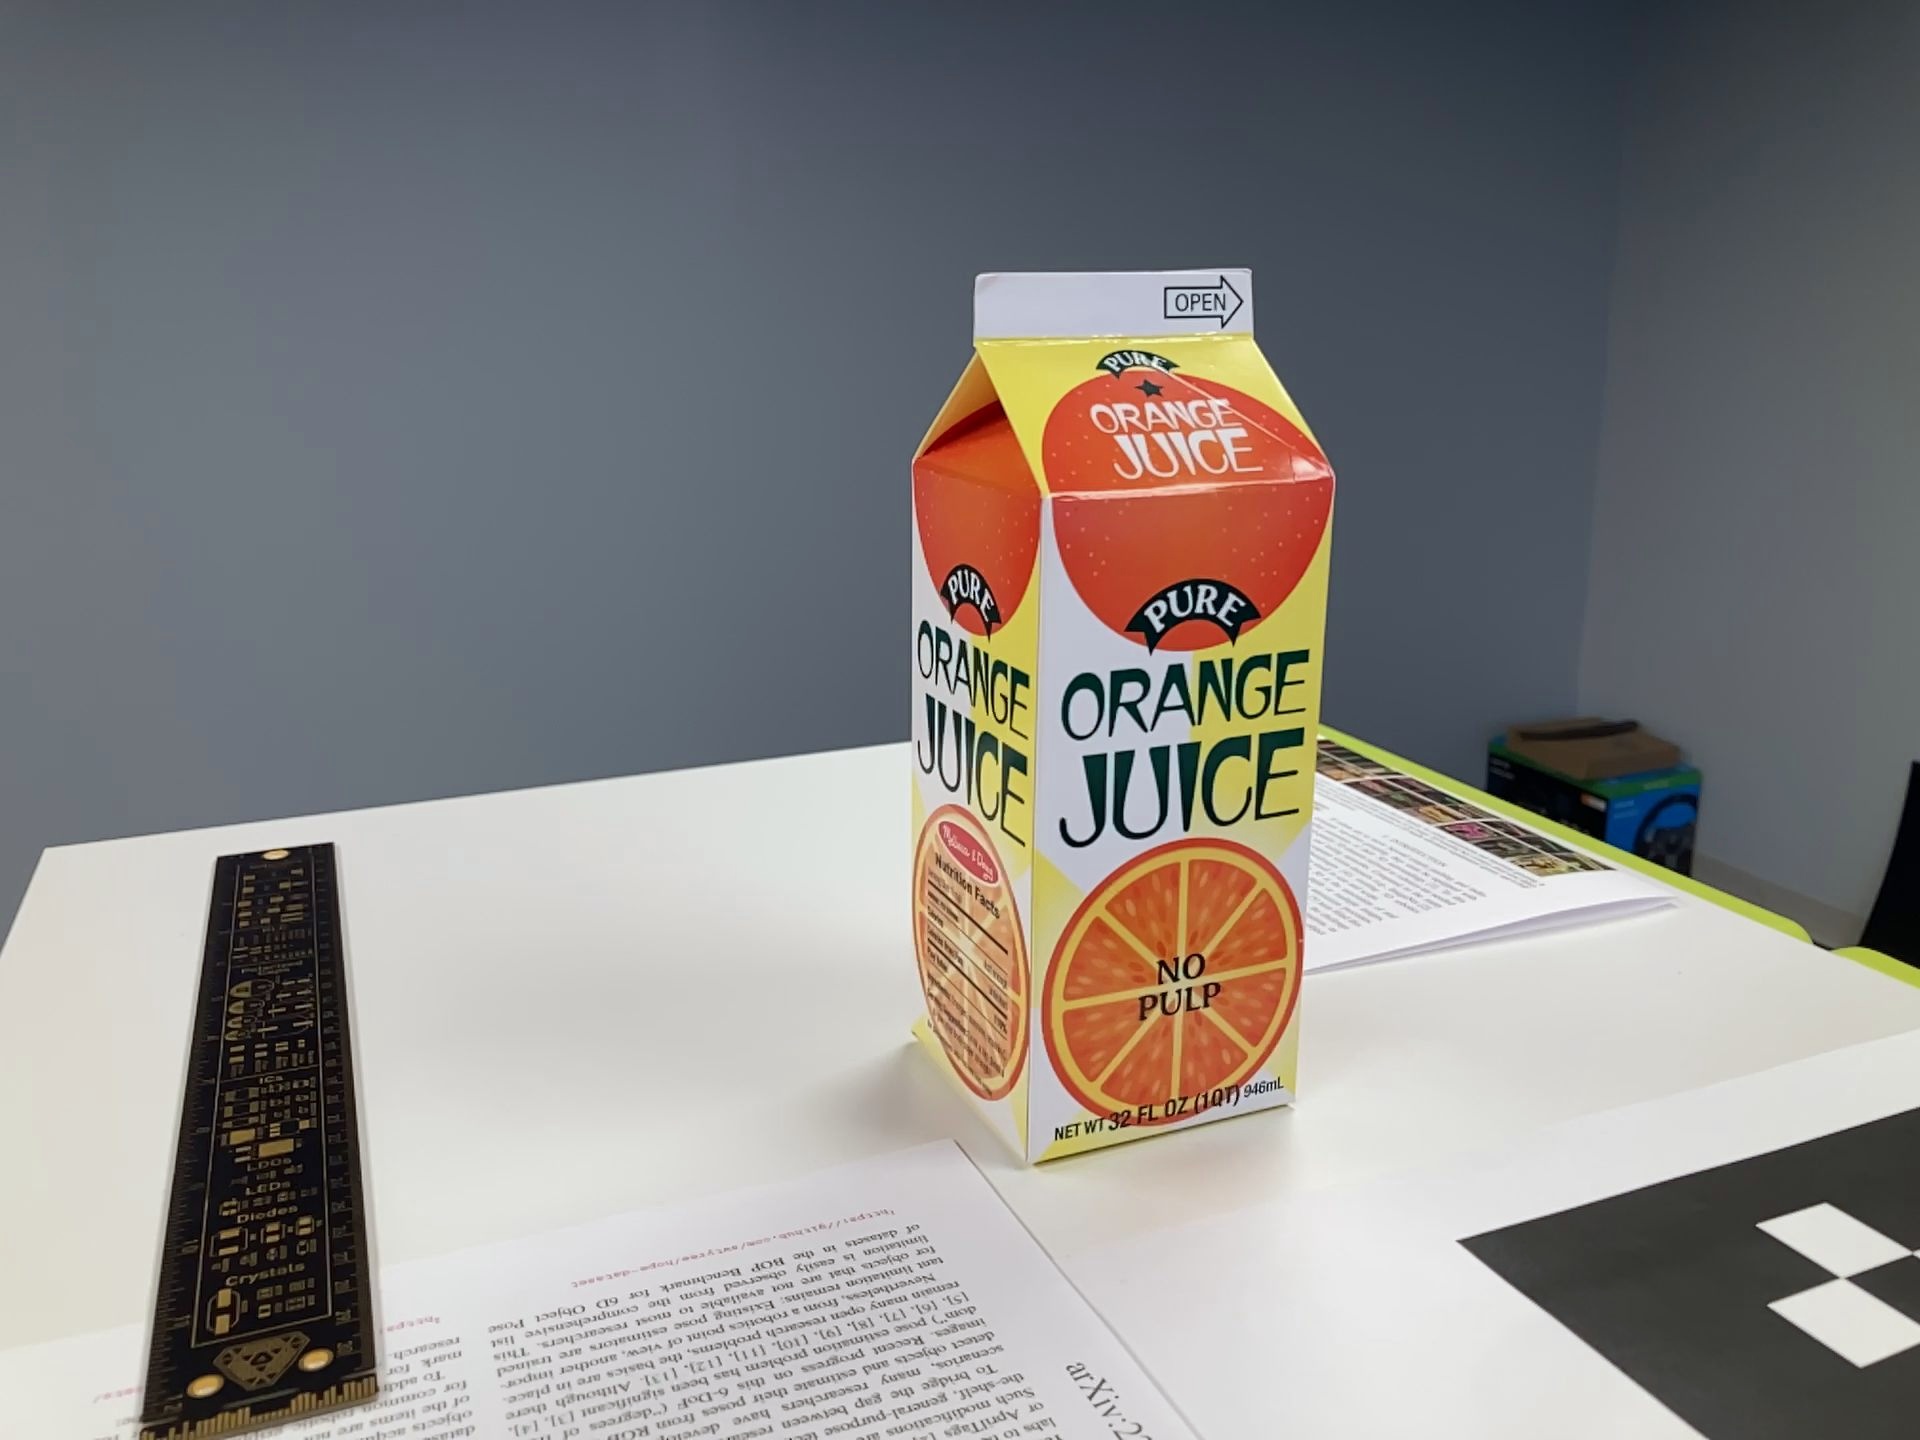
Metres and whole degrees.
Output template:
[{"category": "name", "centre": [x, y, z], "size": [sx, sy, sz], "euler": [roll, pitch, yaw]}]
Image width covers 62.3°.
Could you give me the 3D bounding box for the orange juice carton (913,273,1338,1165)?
[{"category": "orange juice carton", "centre": [0.034, -0.004, 0.369], "size": [0.072, 0.192, 0.073], "euler": [-6, 17, -23]}]
